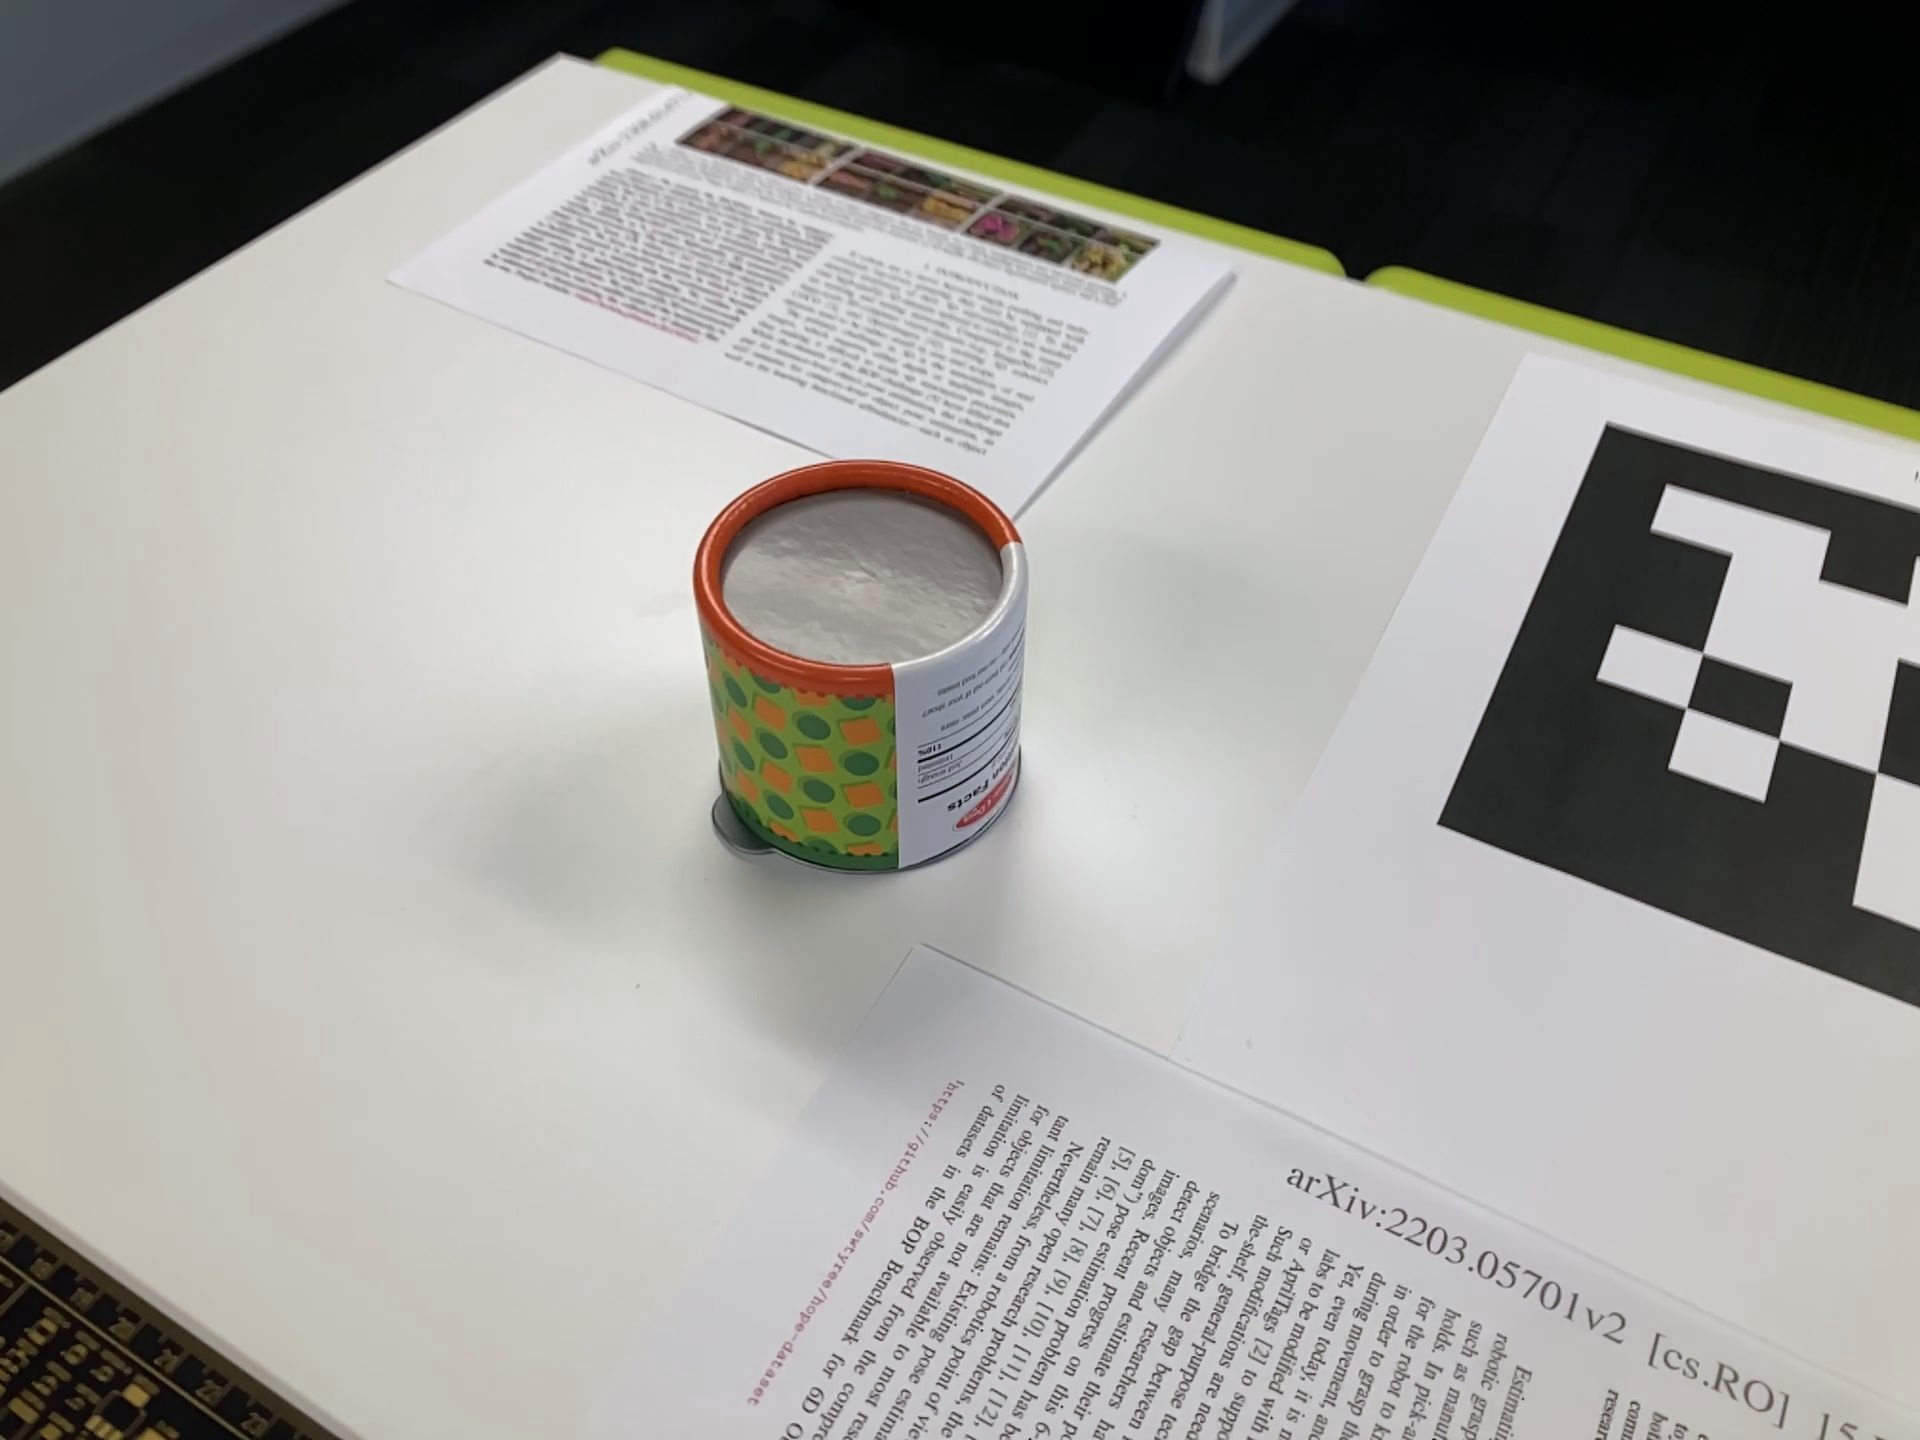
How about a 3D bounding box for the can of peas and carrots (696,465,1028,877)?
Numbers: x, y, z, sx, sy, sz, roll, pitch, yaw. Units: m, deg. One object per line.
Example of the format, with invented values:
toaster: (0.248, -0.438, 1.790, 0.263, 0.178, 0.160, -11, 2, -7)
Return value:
can of peas and carrots: (-0.022, -0.012, 0.332, 0.071, 0.059, 0.071, 0, 46, 0)
